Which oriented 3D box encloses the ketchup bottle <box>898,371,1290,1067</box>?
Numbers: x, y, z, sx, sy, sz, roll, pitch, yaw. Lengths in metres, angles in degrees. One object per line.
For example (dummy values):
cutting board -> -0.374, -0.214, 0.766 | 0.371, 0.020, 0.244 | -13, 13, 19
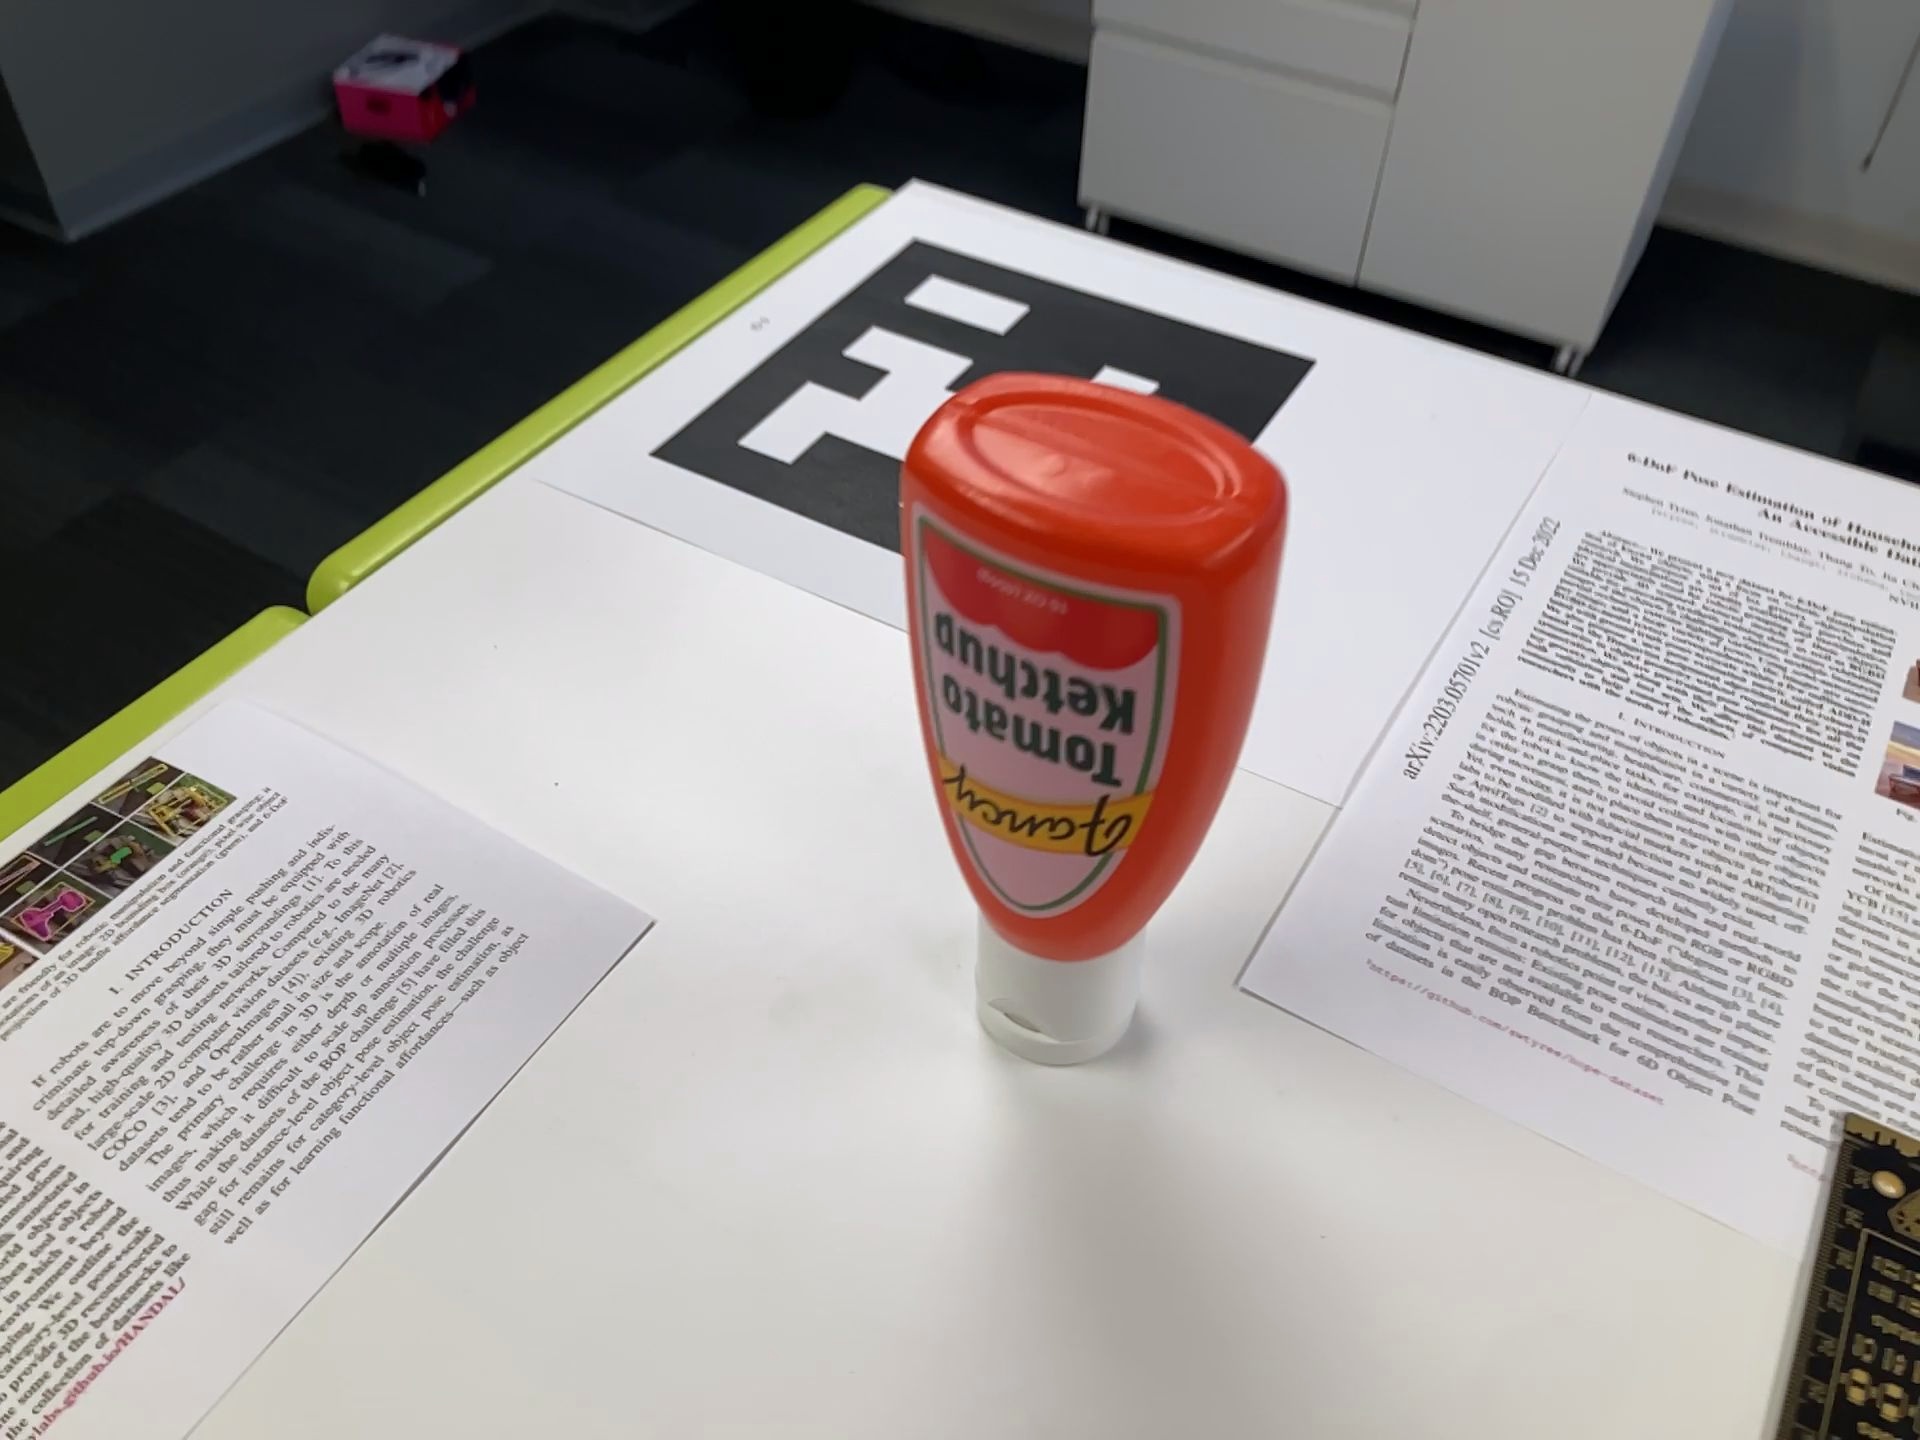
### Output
ketchup bottle -> 0.022, 0.010, 0.302 | 0.065, 0.149, 0.043 | 24, 50, 22
